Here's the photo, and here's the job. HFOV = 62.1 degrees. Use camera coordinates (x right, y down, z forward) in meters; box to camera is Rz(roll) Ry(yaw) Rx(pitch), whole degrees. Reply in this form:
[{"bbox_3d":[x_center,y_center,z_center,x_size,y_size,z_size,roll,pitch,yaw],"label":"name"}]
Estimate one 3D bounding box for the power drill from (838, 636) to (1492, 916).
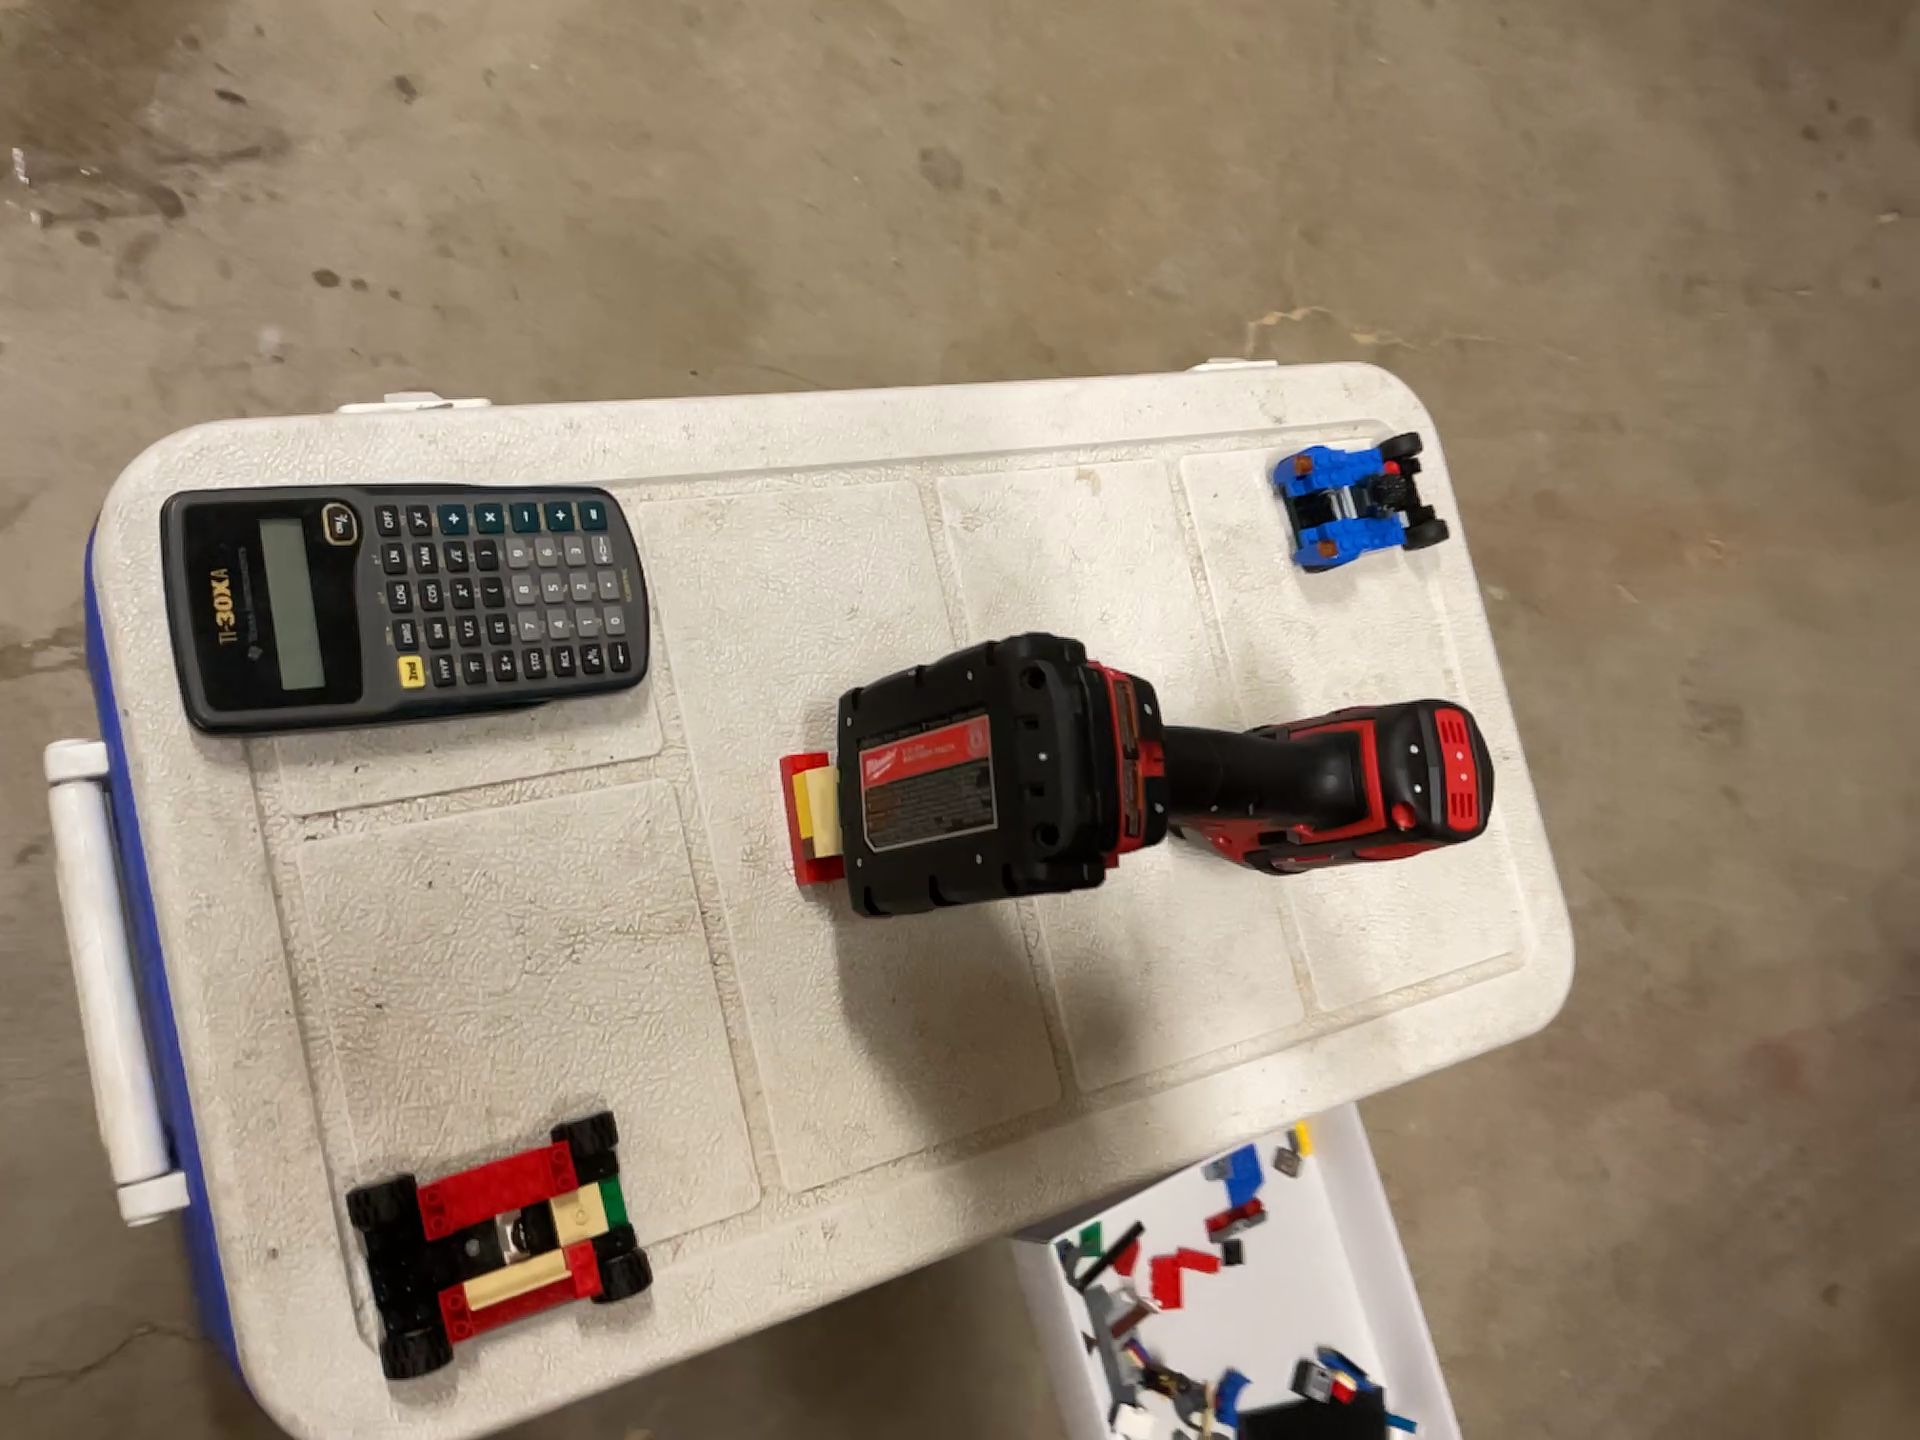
[{"bbox_3d":[0.072,0.026,0.579,0.219,0.143,0.078,3,78,-37],"label":"power drill"}]
